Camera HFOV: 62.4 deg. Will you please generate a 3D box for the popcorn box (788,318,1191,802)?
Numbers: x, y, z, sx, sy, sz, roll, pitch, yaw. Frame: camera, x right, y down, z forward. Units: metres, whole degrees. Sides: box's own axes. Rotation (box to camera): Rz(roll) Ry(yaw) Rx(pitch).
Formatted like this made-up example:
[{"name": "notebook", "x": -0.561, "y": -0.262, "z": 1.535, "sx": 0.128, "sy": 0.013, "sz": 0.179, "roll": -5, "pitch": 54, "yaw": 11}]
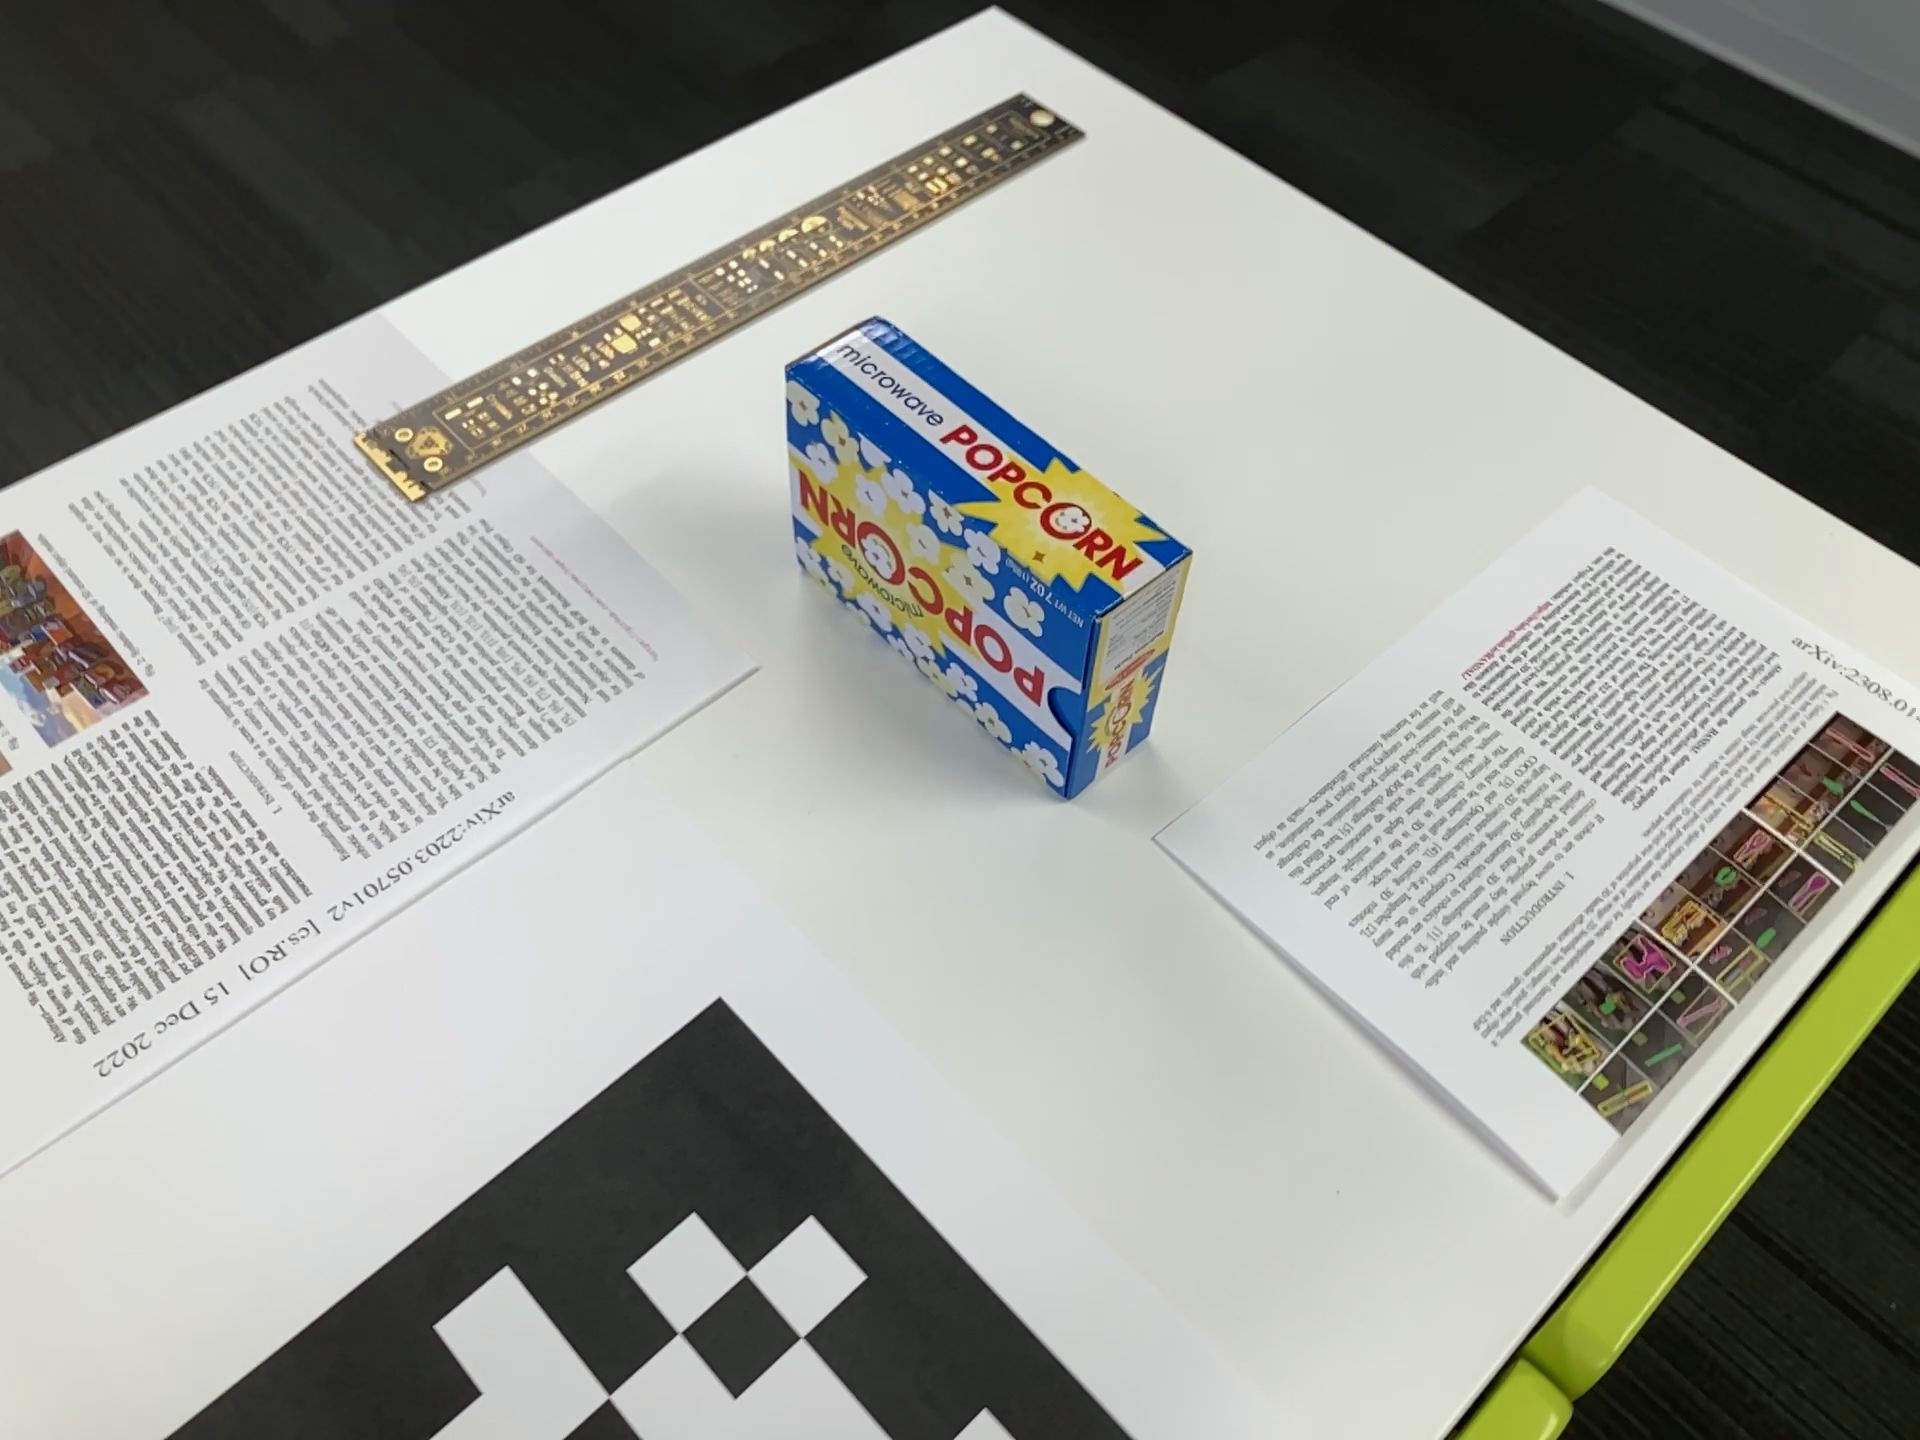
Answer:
[{"name": "popcorn box", "x": 0.004, "y": -0.048, "z": 0.465, "sx": 0.038, "sy": 0.085, "sz": 0.126, "roll": -36, "pitch": 63, "yaw": -26}]
